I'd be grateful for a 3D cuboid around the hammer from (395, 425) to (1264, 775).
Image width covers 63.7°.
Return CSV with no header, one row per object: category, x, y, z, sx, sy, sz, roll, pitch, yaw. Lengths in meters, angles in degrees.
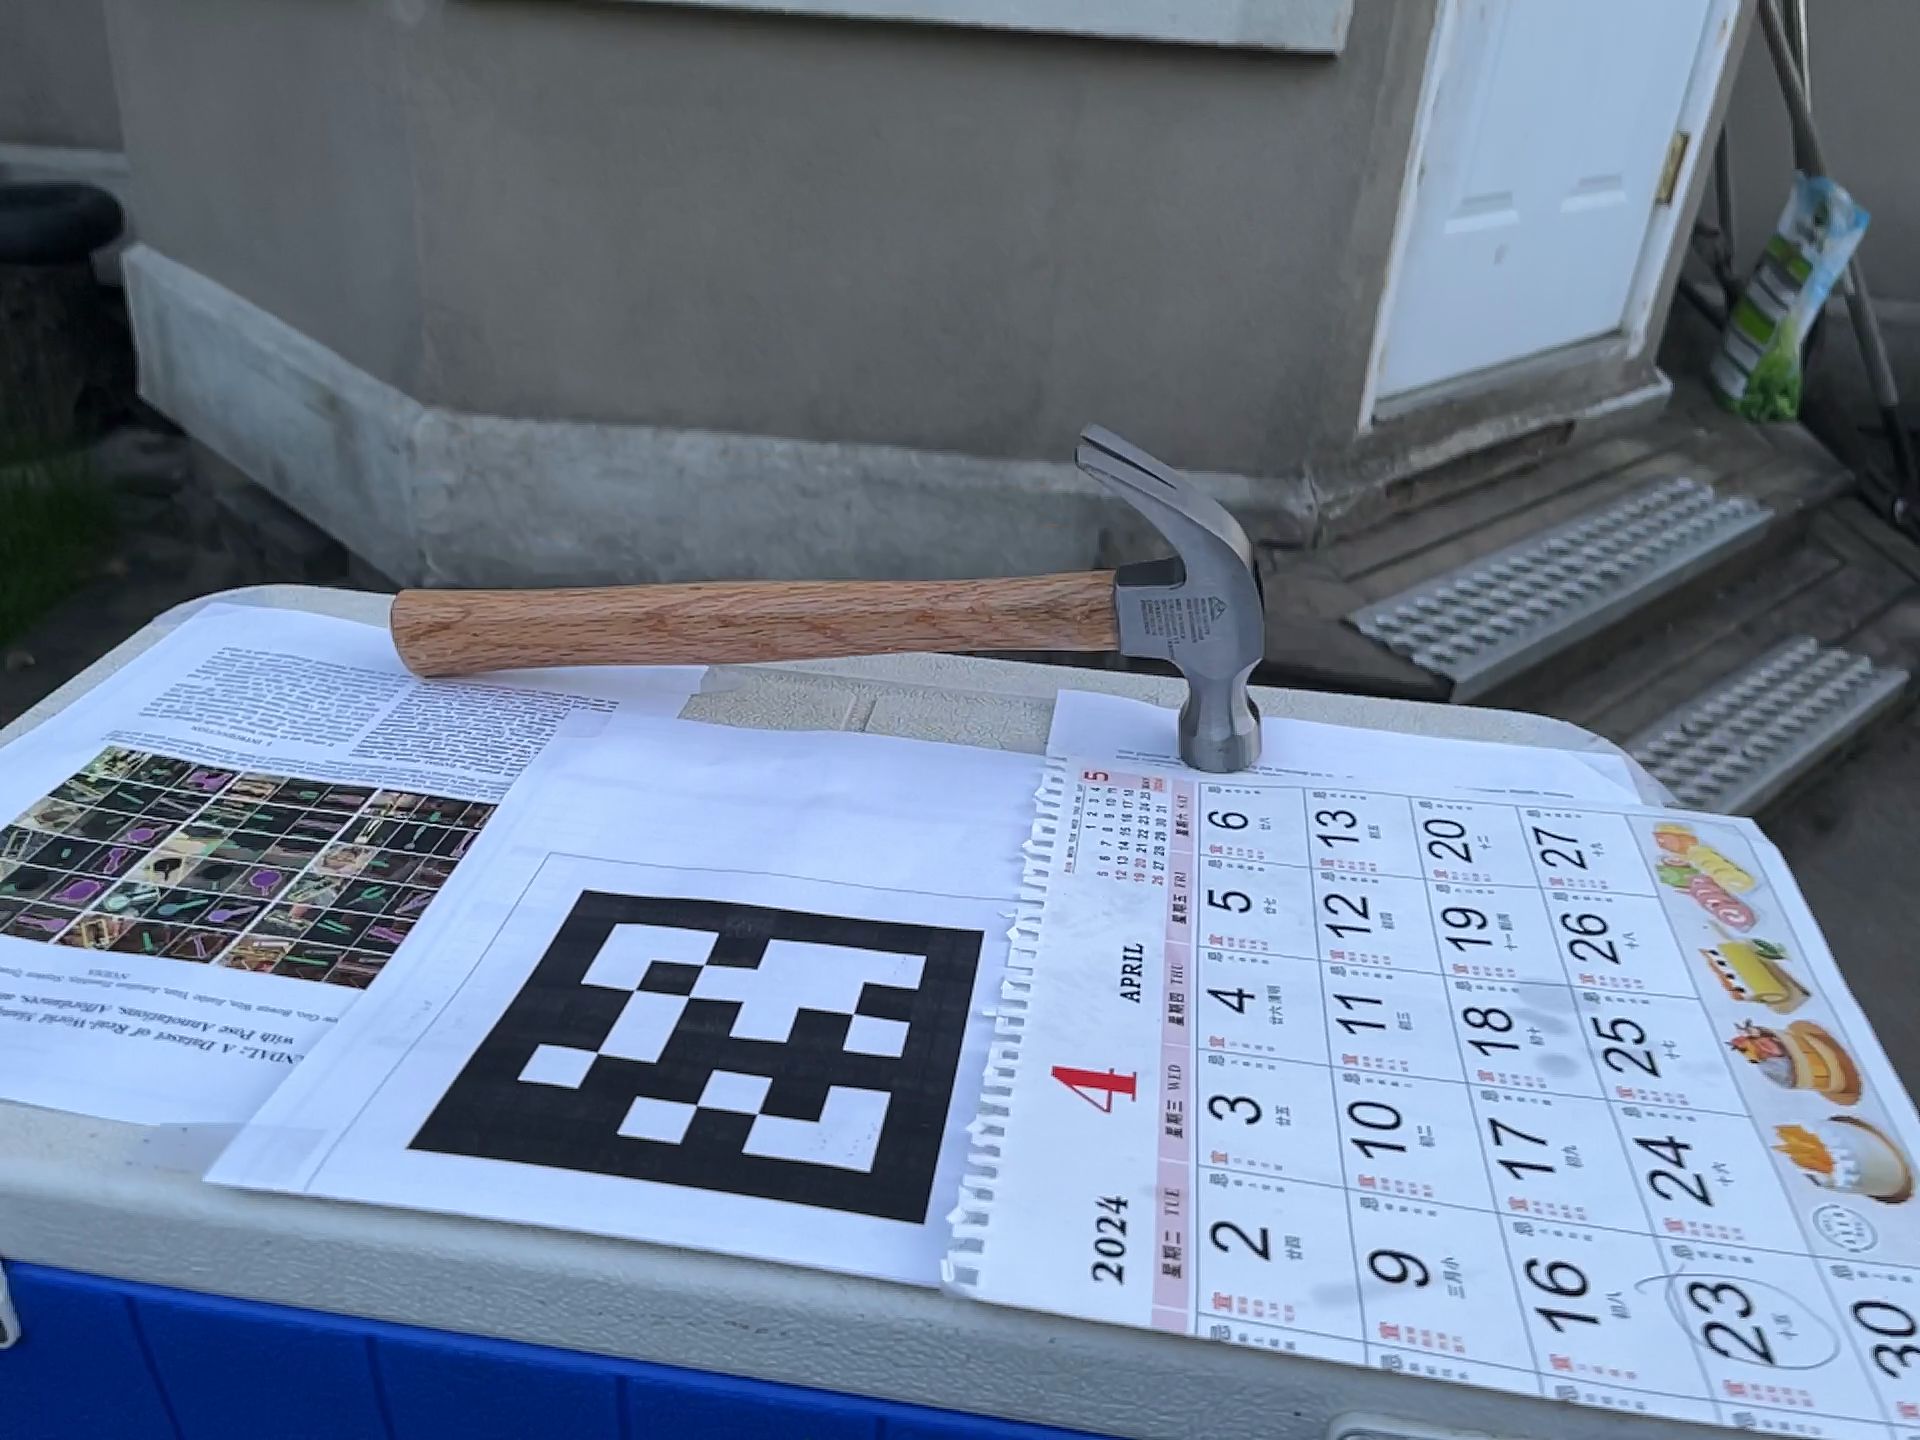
hammer,-0.055,-0.038,0.579,0.331,0.130,0.031,-1,33,10
